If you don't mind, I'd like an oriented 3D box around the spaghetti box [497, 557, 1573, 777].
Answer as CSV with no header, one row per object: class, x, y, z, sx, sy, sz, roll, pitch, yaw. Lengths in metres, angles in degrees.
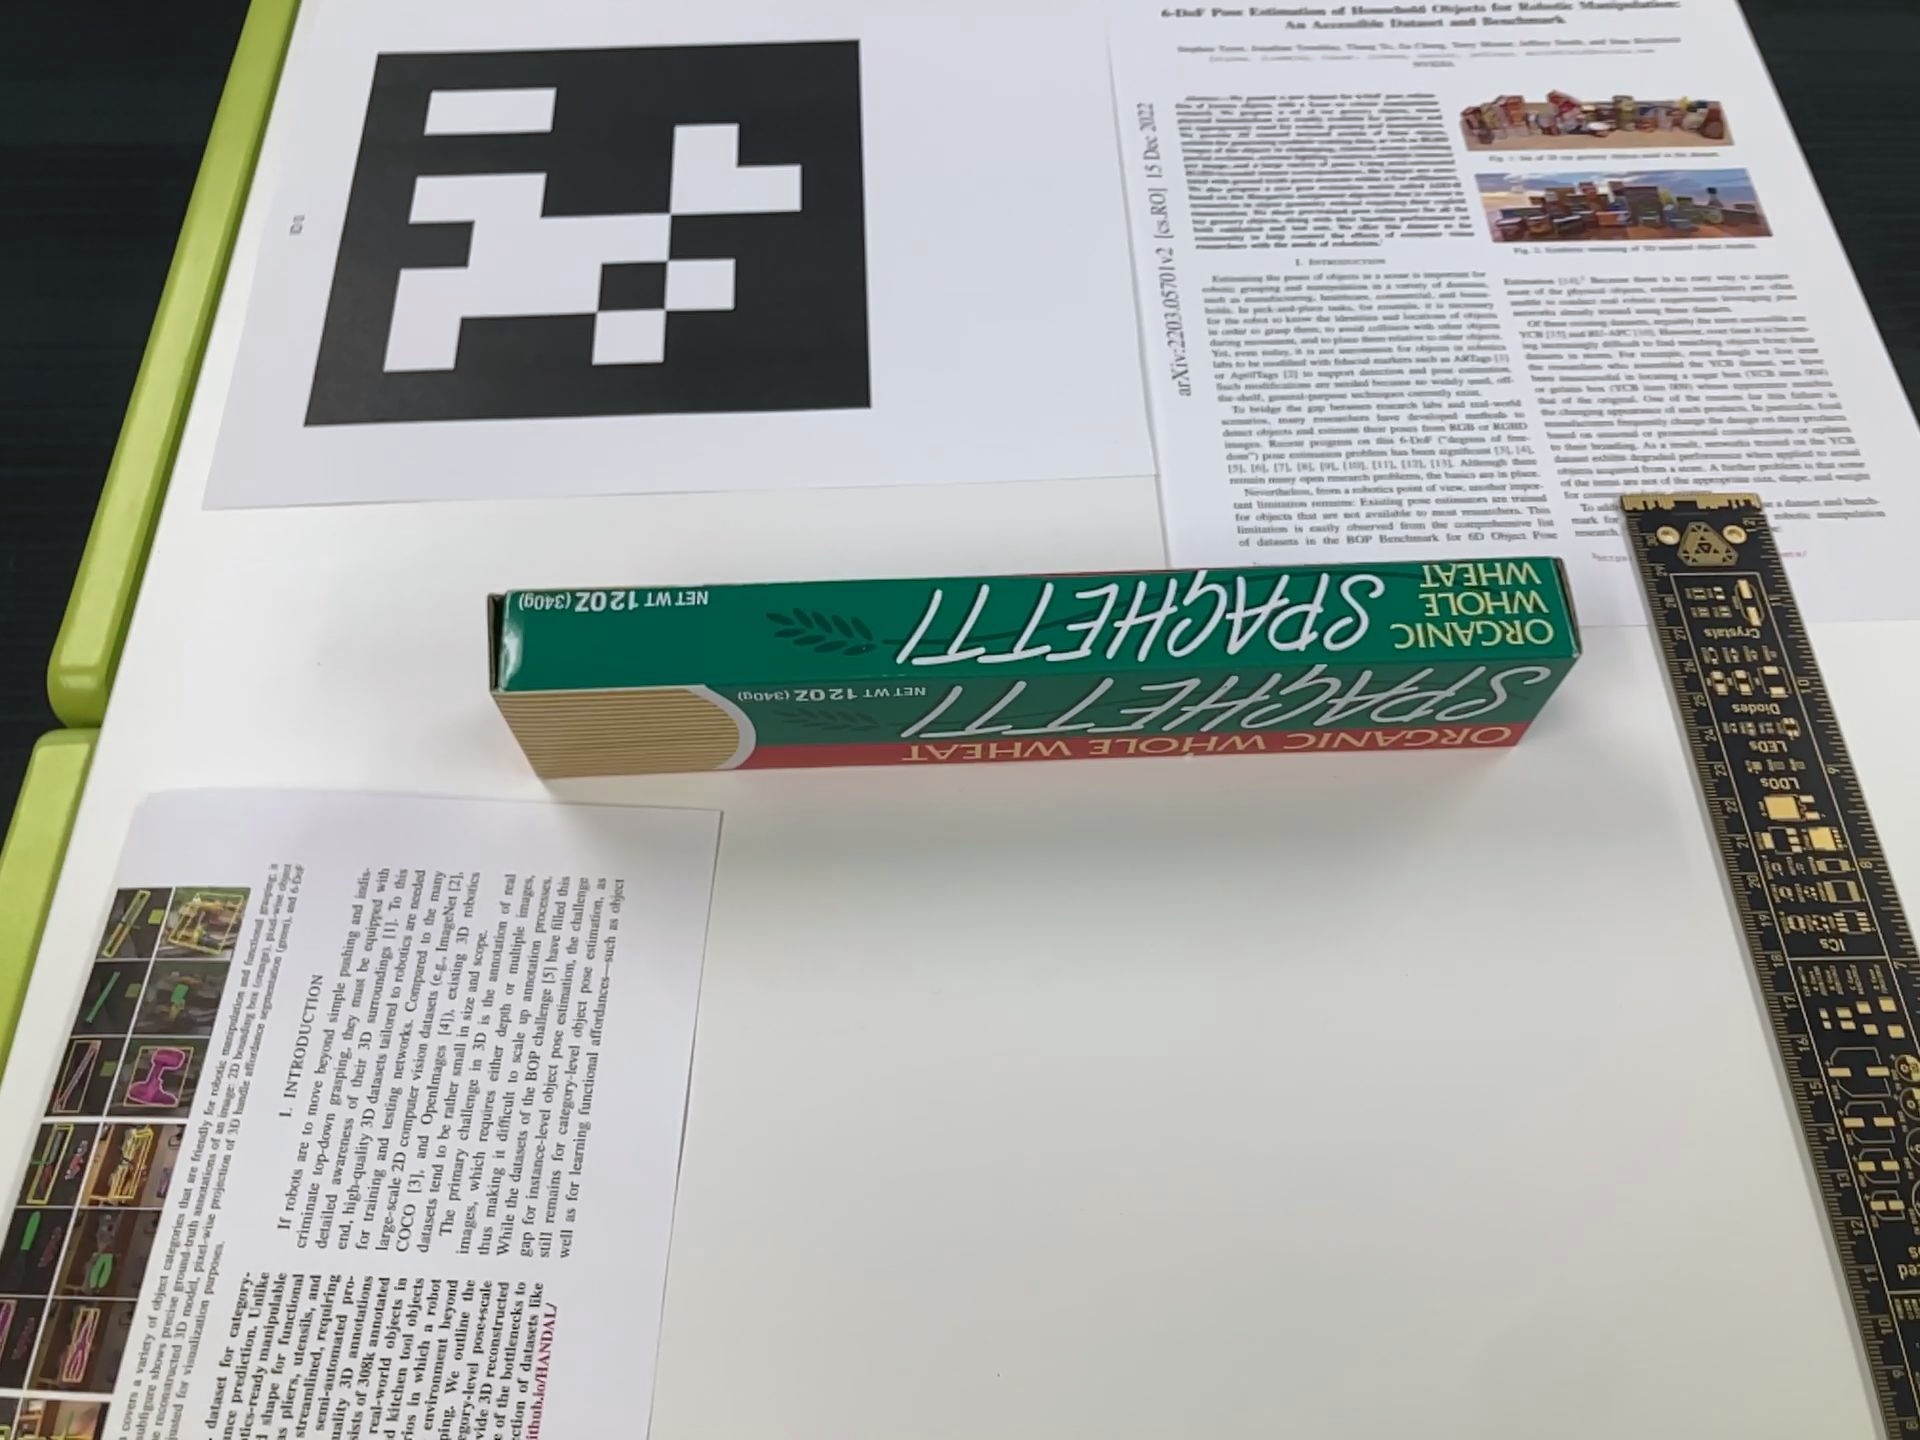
spaghetti box,0.018,-0.012,0.386,0.250,0.050,0.028,-2,64,-2
